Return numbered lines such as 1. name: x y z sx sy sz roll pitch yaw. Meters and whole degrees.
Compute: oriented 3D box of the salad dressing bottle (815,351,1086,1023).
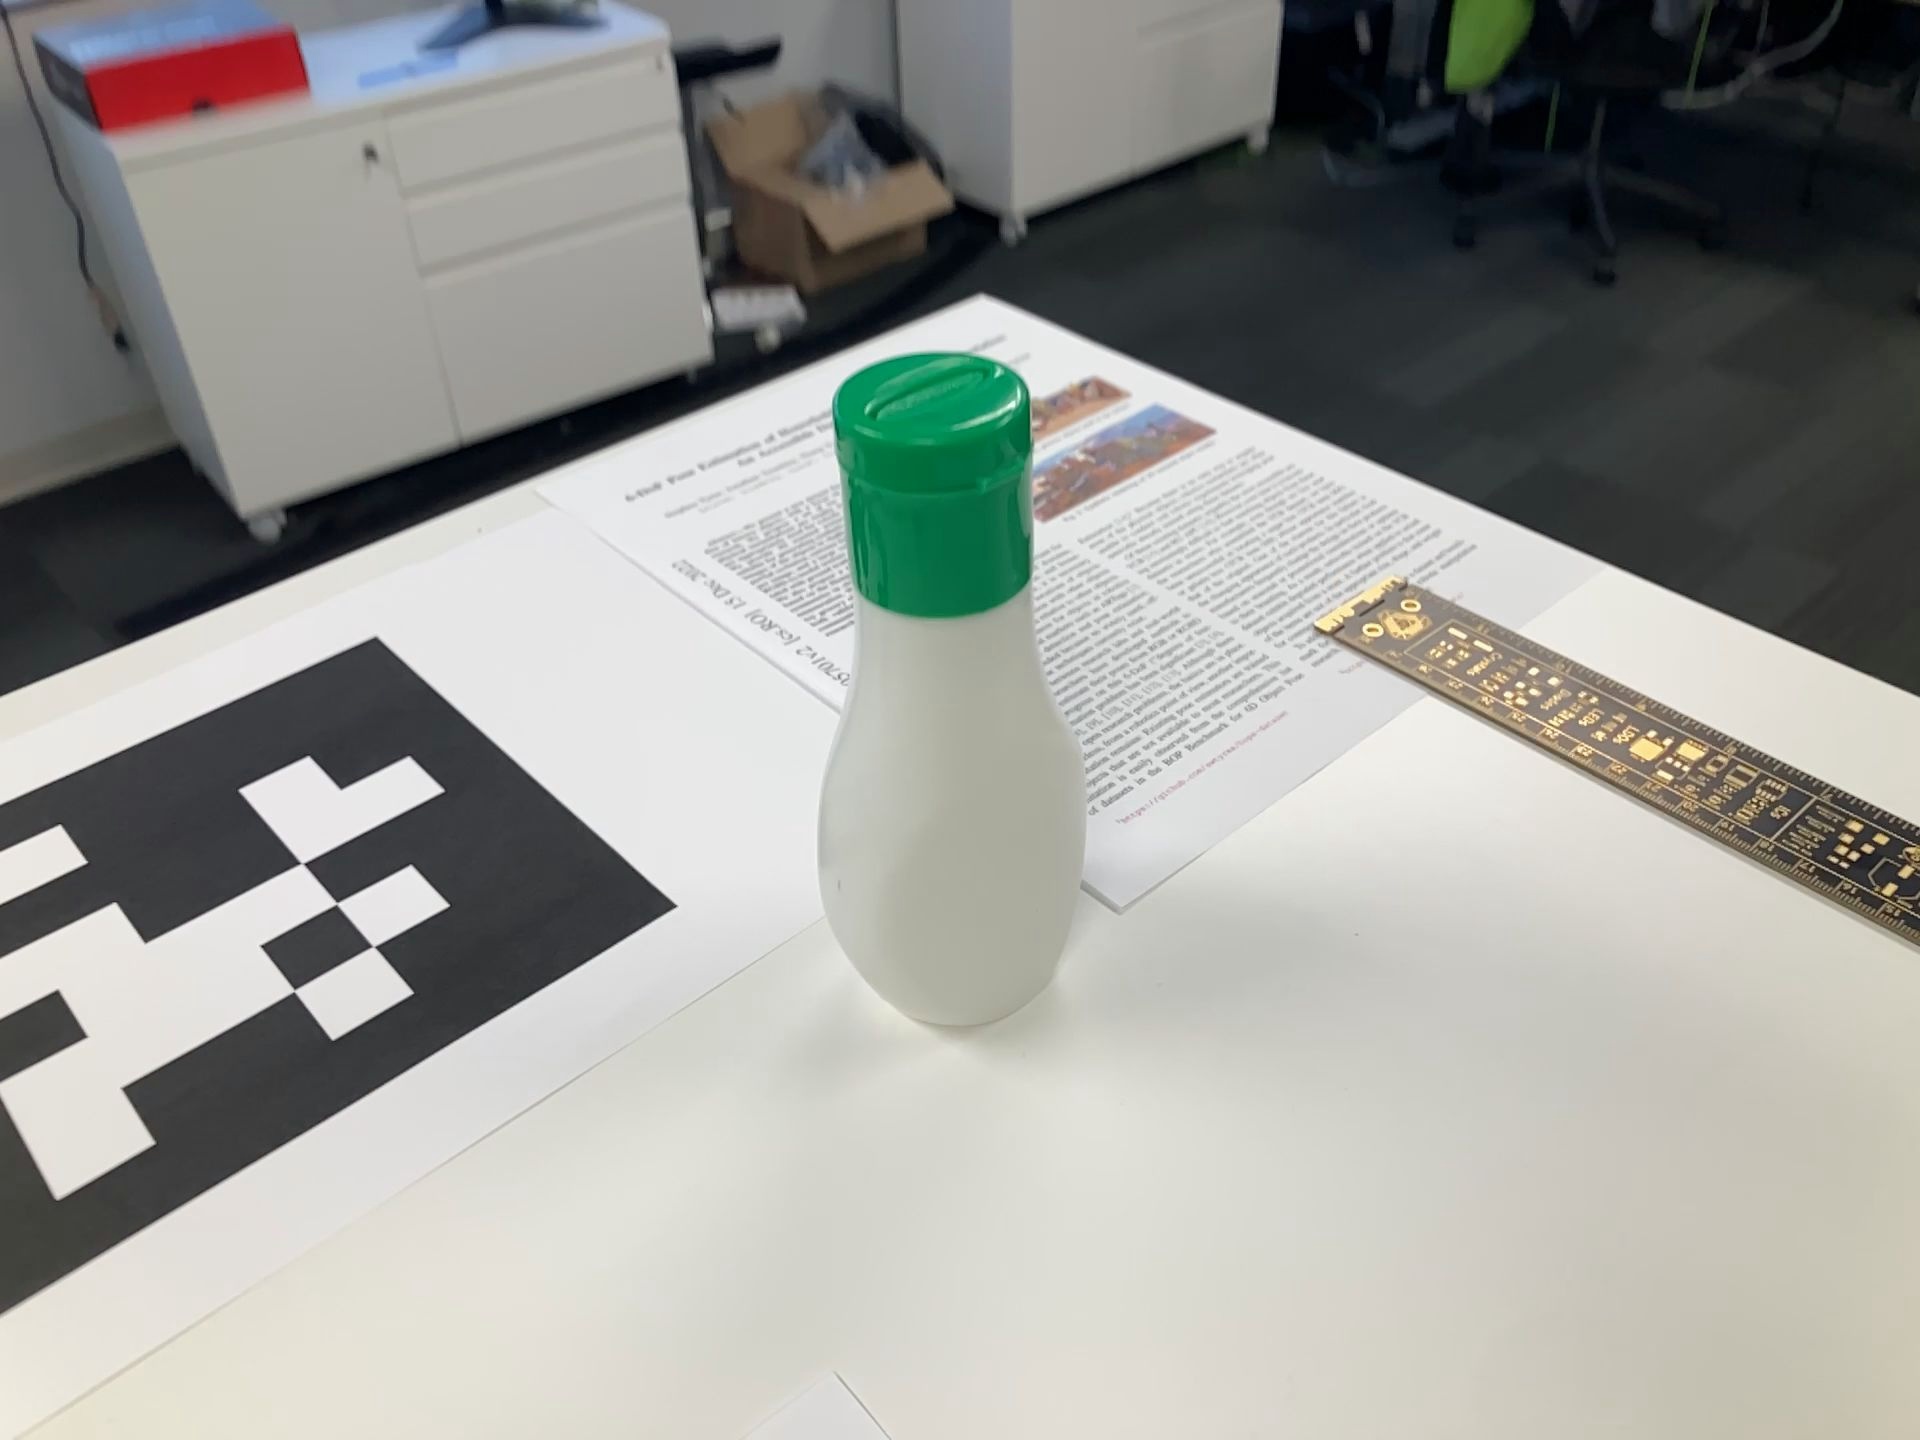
1. salad dressing bottle: -0.003 -0.002 0.330 0.064 0.147 0.044 -30 46 -31
